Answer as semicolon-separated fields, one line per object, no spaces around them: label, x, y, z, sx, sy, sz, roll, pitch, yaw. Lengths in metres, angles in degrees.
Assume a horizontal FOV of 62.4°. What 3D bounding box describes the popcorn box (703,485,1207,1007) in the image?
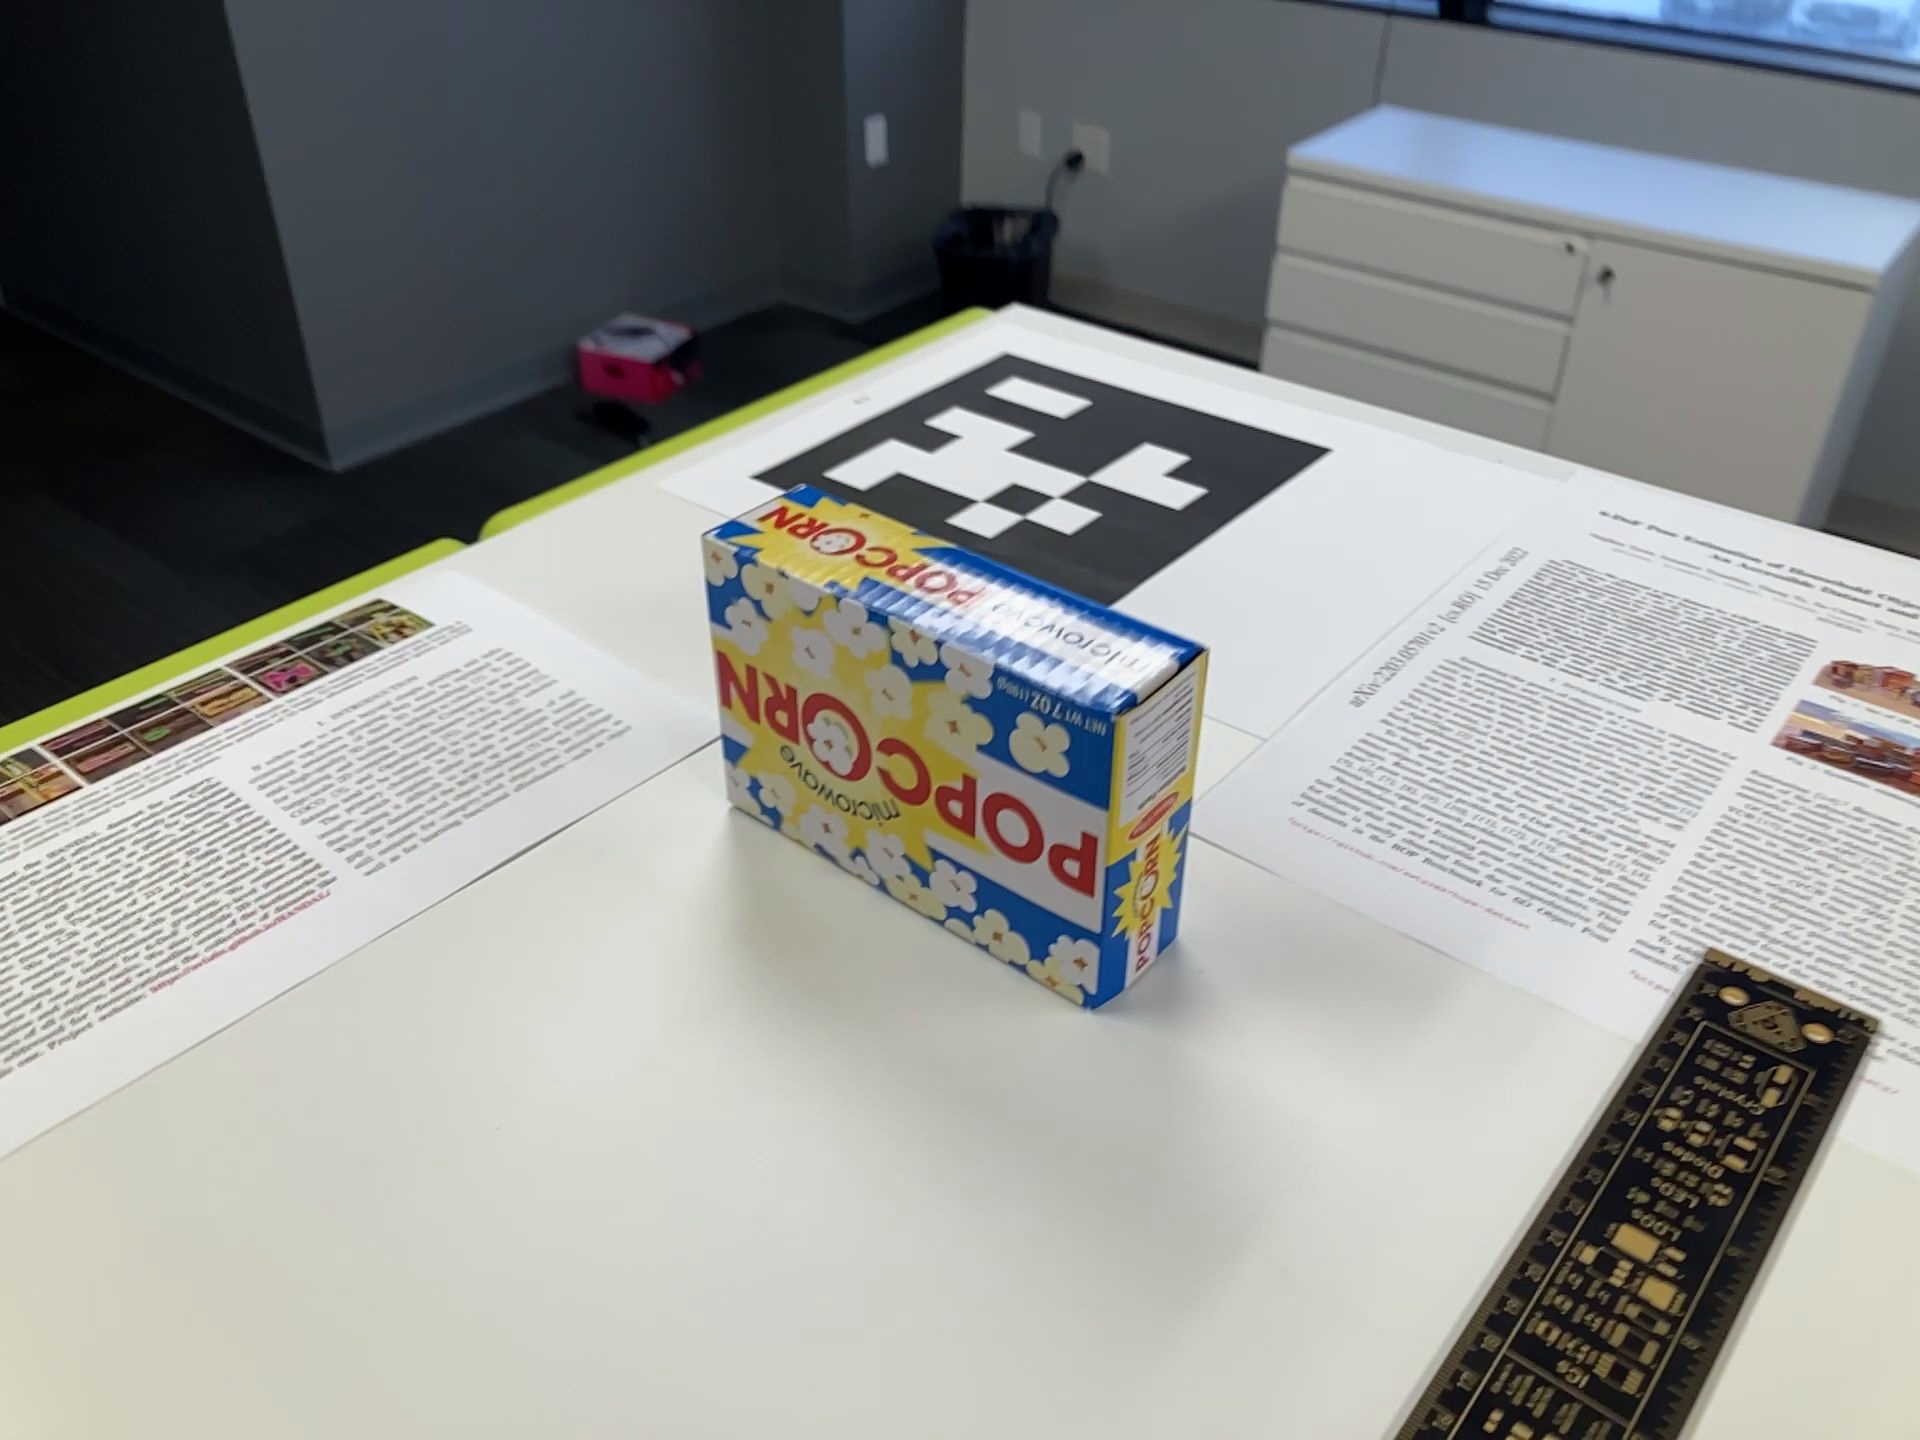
popcorn box;-0.004;0.003;0.390;0.126;0.085;0.038;25;42;32
